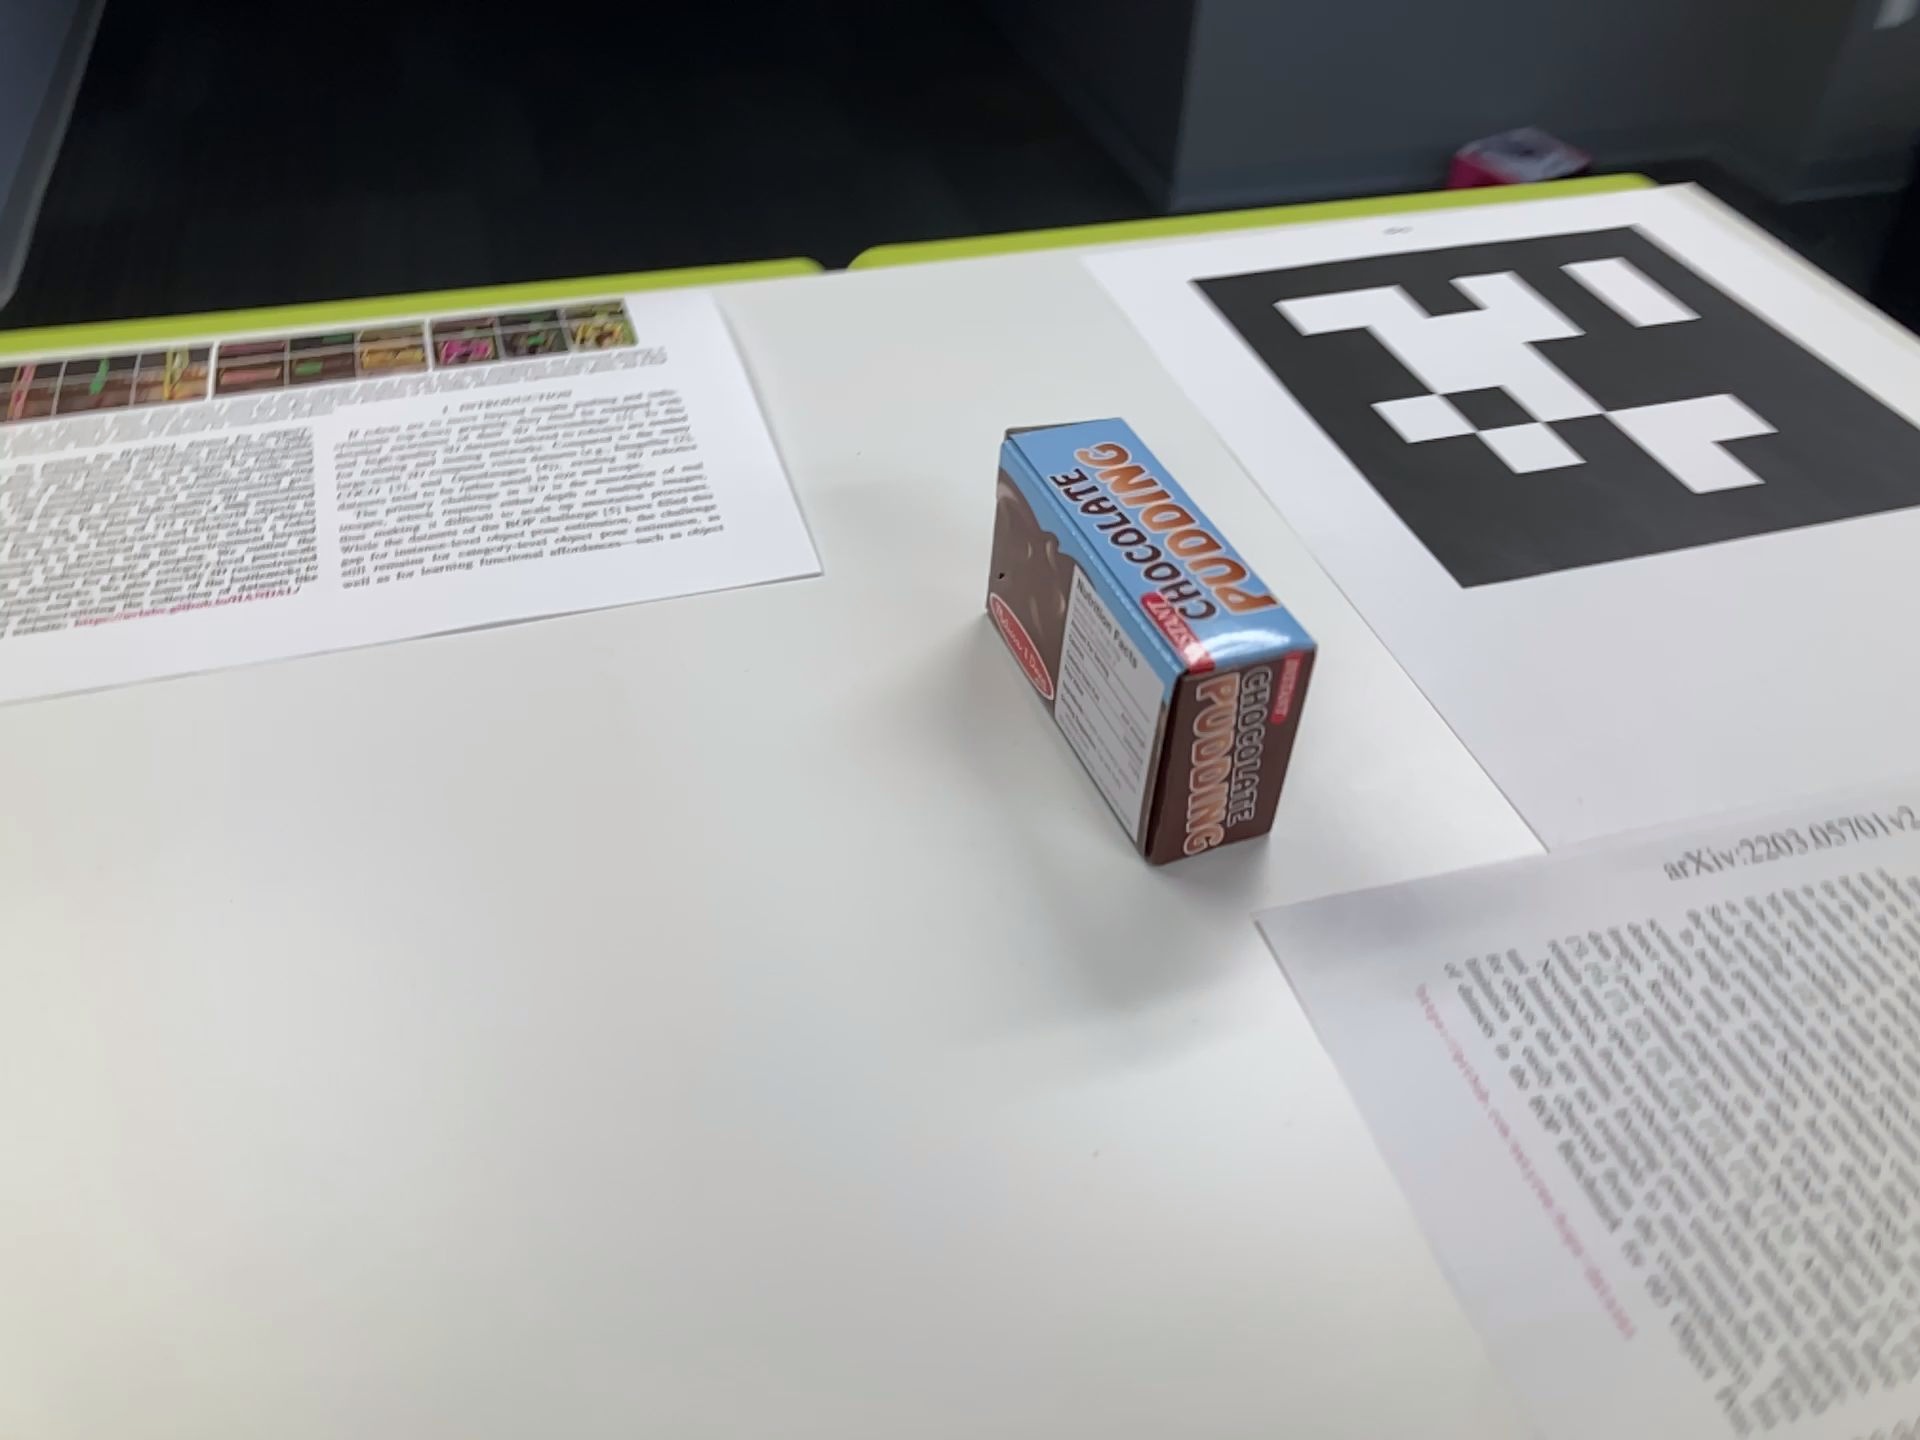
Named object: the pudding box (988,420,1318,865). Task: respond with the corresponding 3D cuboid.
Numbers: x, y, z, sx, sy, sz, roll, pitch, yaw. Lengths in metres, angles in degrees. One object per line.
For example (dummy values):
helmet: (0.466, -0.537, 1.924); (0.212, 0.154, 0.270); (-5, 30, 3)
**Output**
pudding box: (0.034, -0.018, 0.318); (0.030, 0.049, 0.083); (-12, 43, -18)
